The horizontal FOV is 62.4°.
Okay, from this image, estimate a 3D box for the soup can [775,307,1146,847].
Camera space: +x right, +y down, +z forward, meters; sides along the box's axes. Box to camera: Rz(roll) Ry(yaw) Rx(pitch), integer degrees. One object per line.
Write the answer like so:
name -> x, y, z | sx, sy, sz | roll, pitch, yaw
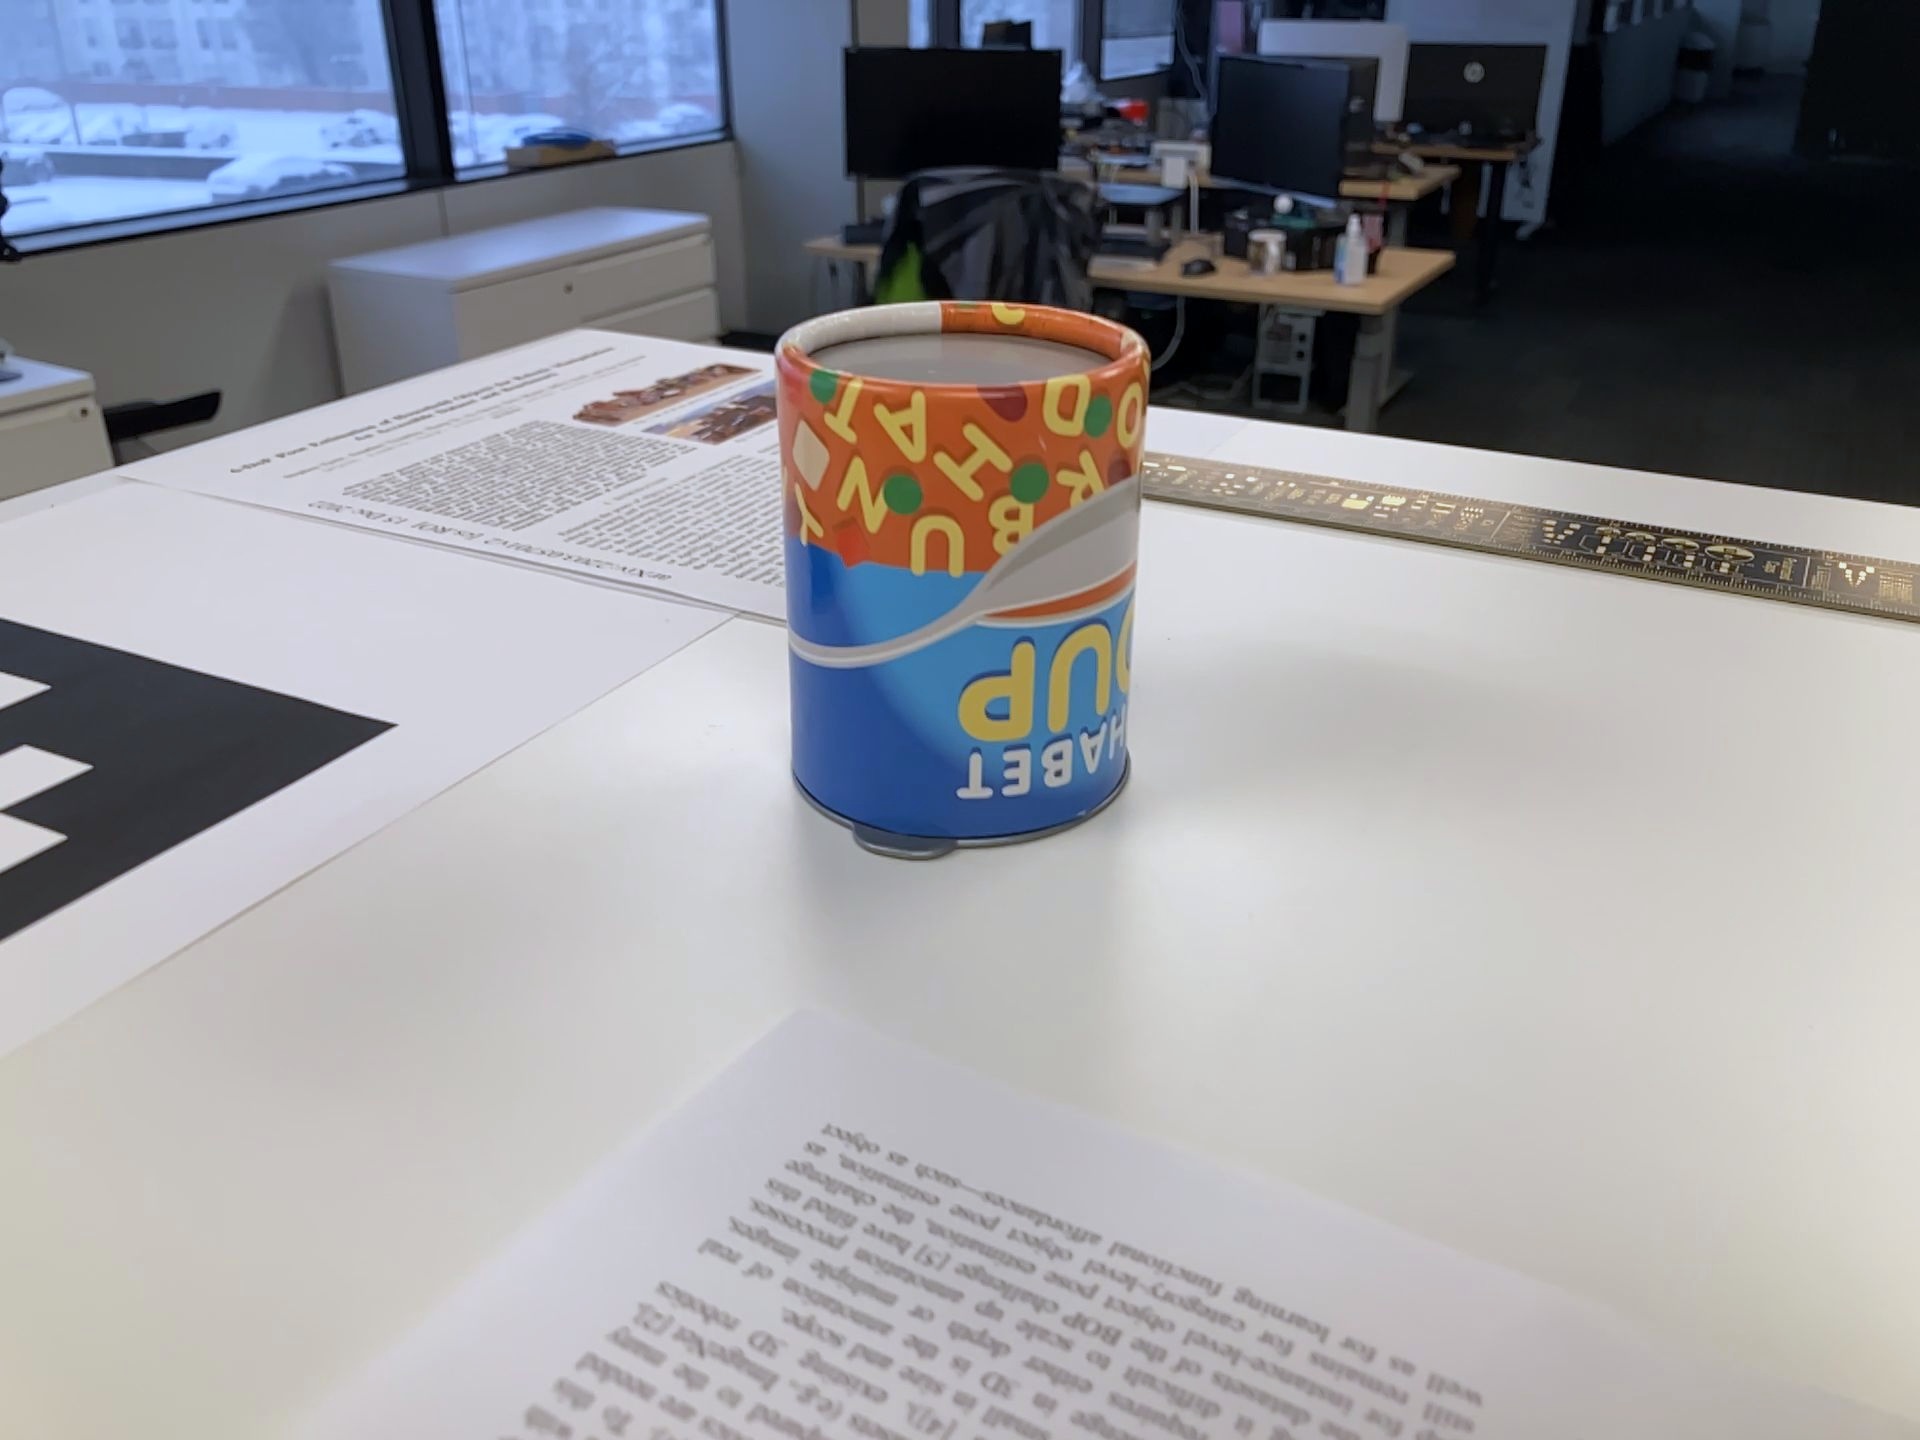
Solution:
soup can -> 0.002, -0.028, 0.294 | 0.071, 0.084, 0.071 | 0, 26, 0
